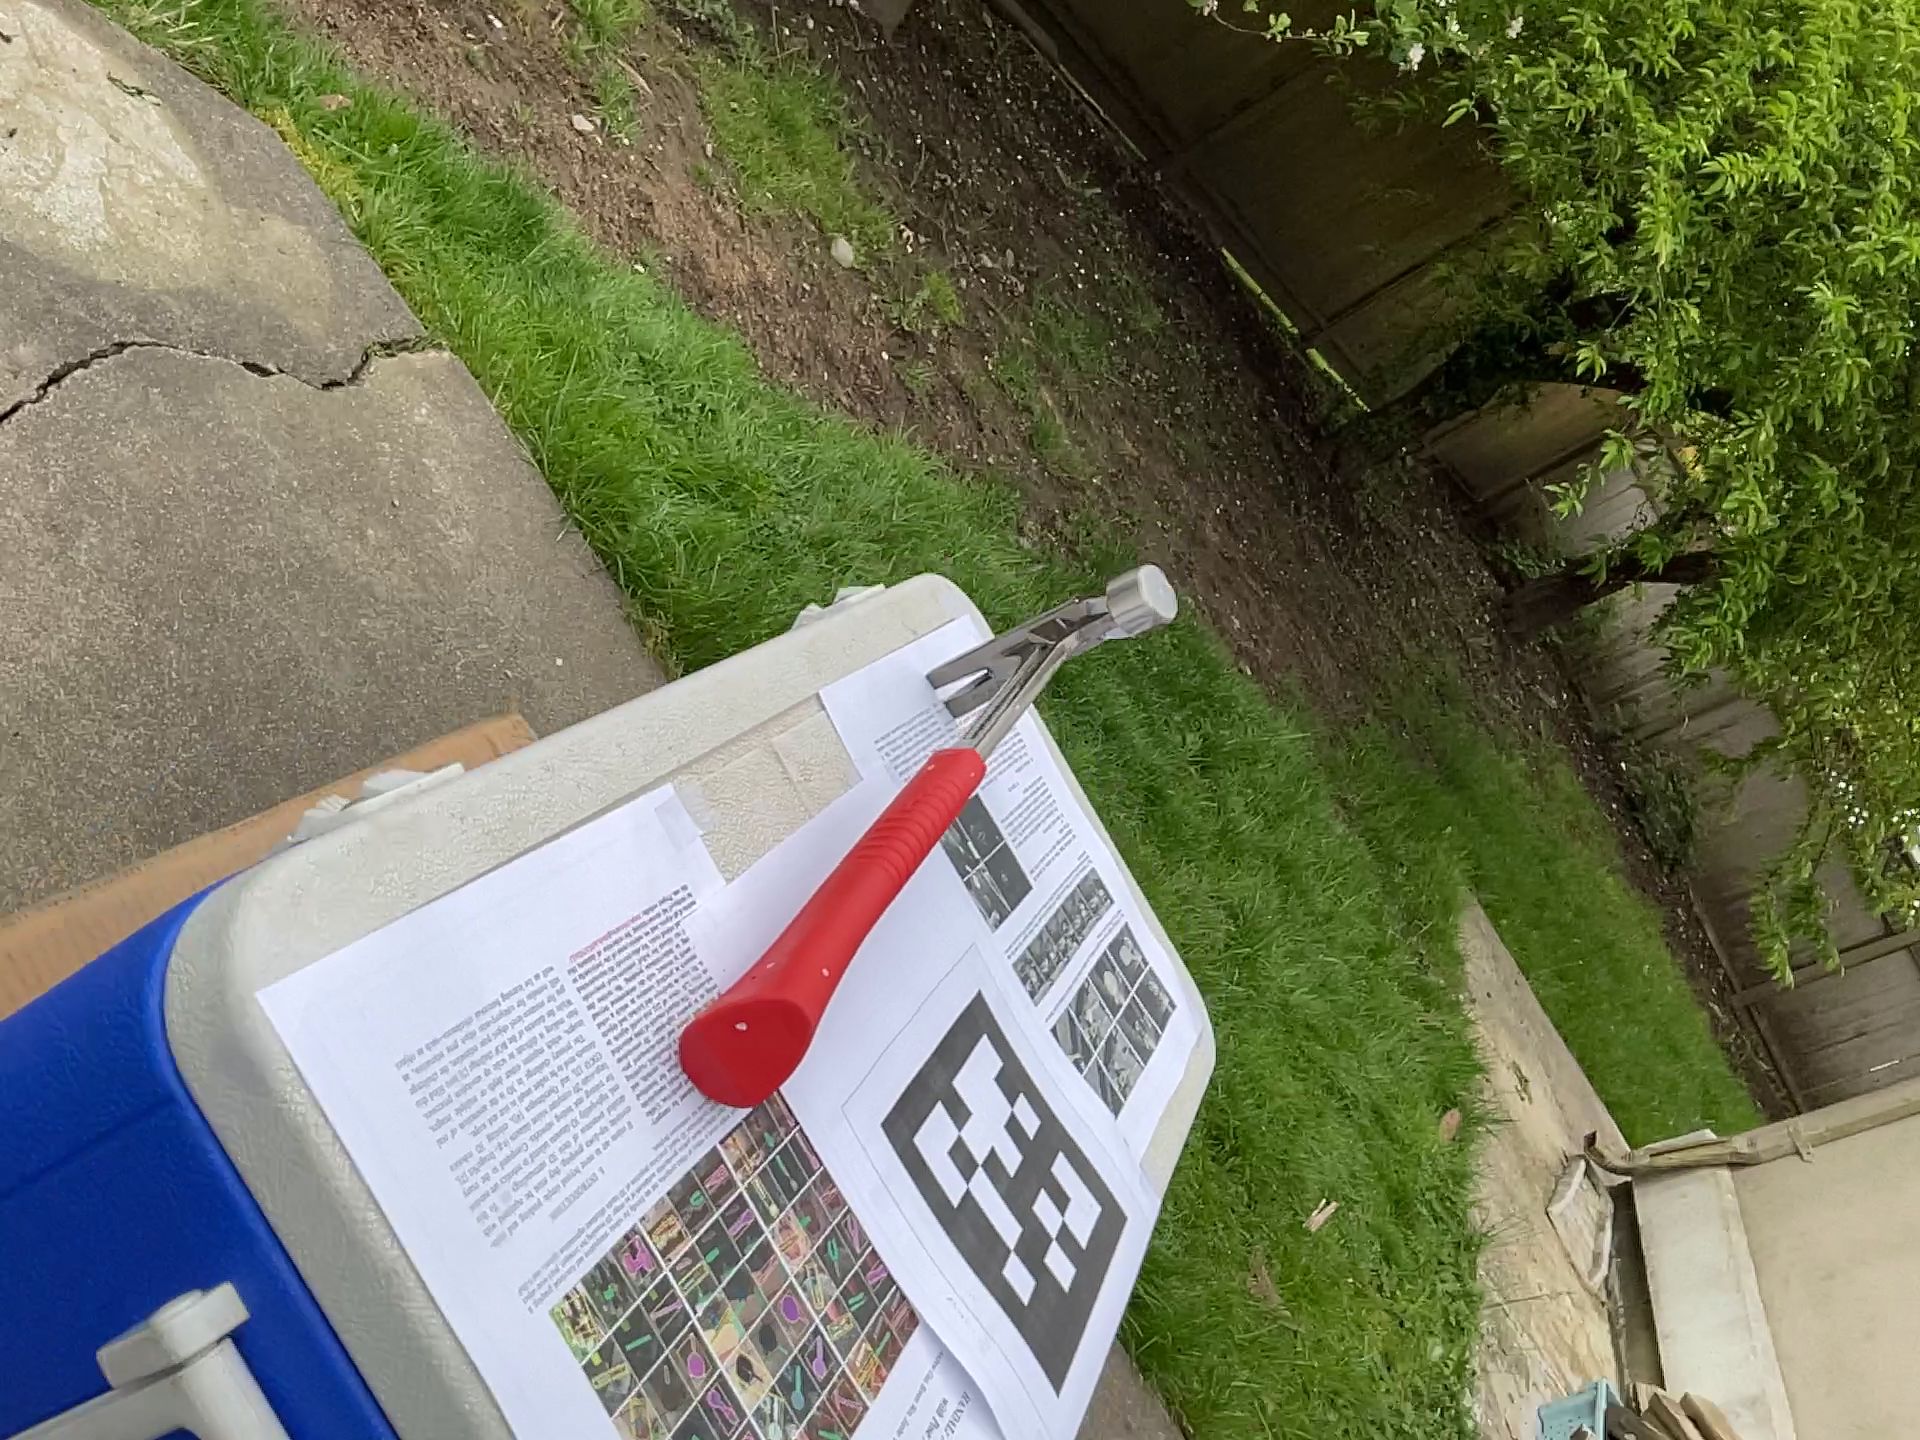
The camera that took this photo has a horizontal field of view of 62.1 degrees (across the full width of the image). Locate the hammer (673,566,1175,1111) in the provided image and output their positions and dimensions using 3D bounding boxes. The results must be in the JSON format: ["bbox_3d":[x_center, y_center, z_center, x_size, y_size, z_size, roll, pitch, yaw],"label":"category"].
[{"bbox_3d":[-0.021,0.038,0.682,0.036,0.149,0.359,56,35,-12],"label":"hammer"}]
